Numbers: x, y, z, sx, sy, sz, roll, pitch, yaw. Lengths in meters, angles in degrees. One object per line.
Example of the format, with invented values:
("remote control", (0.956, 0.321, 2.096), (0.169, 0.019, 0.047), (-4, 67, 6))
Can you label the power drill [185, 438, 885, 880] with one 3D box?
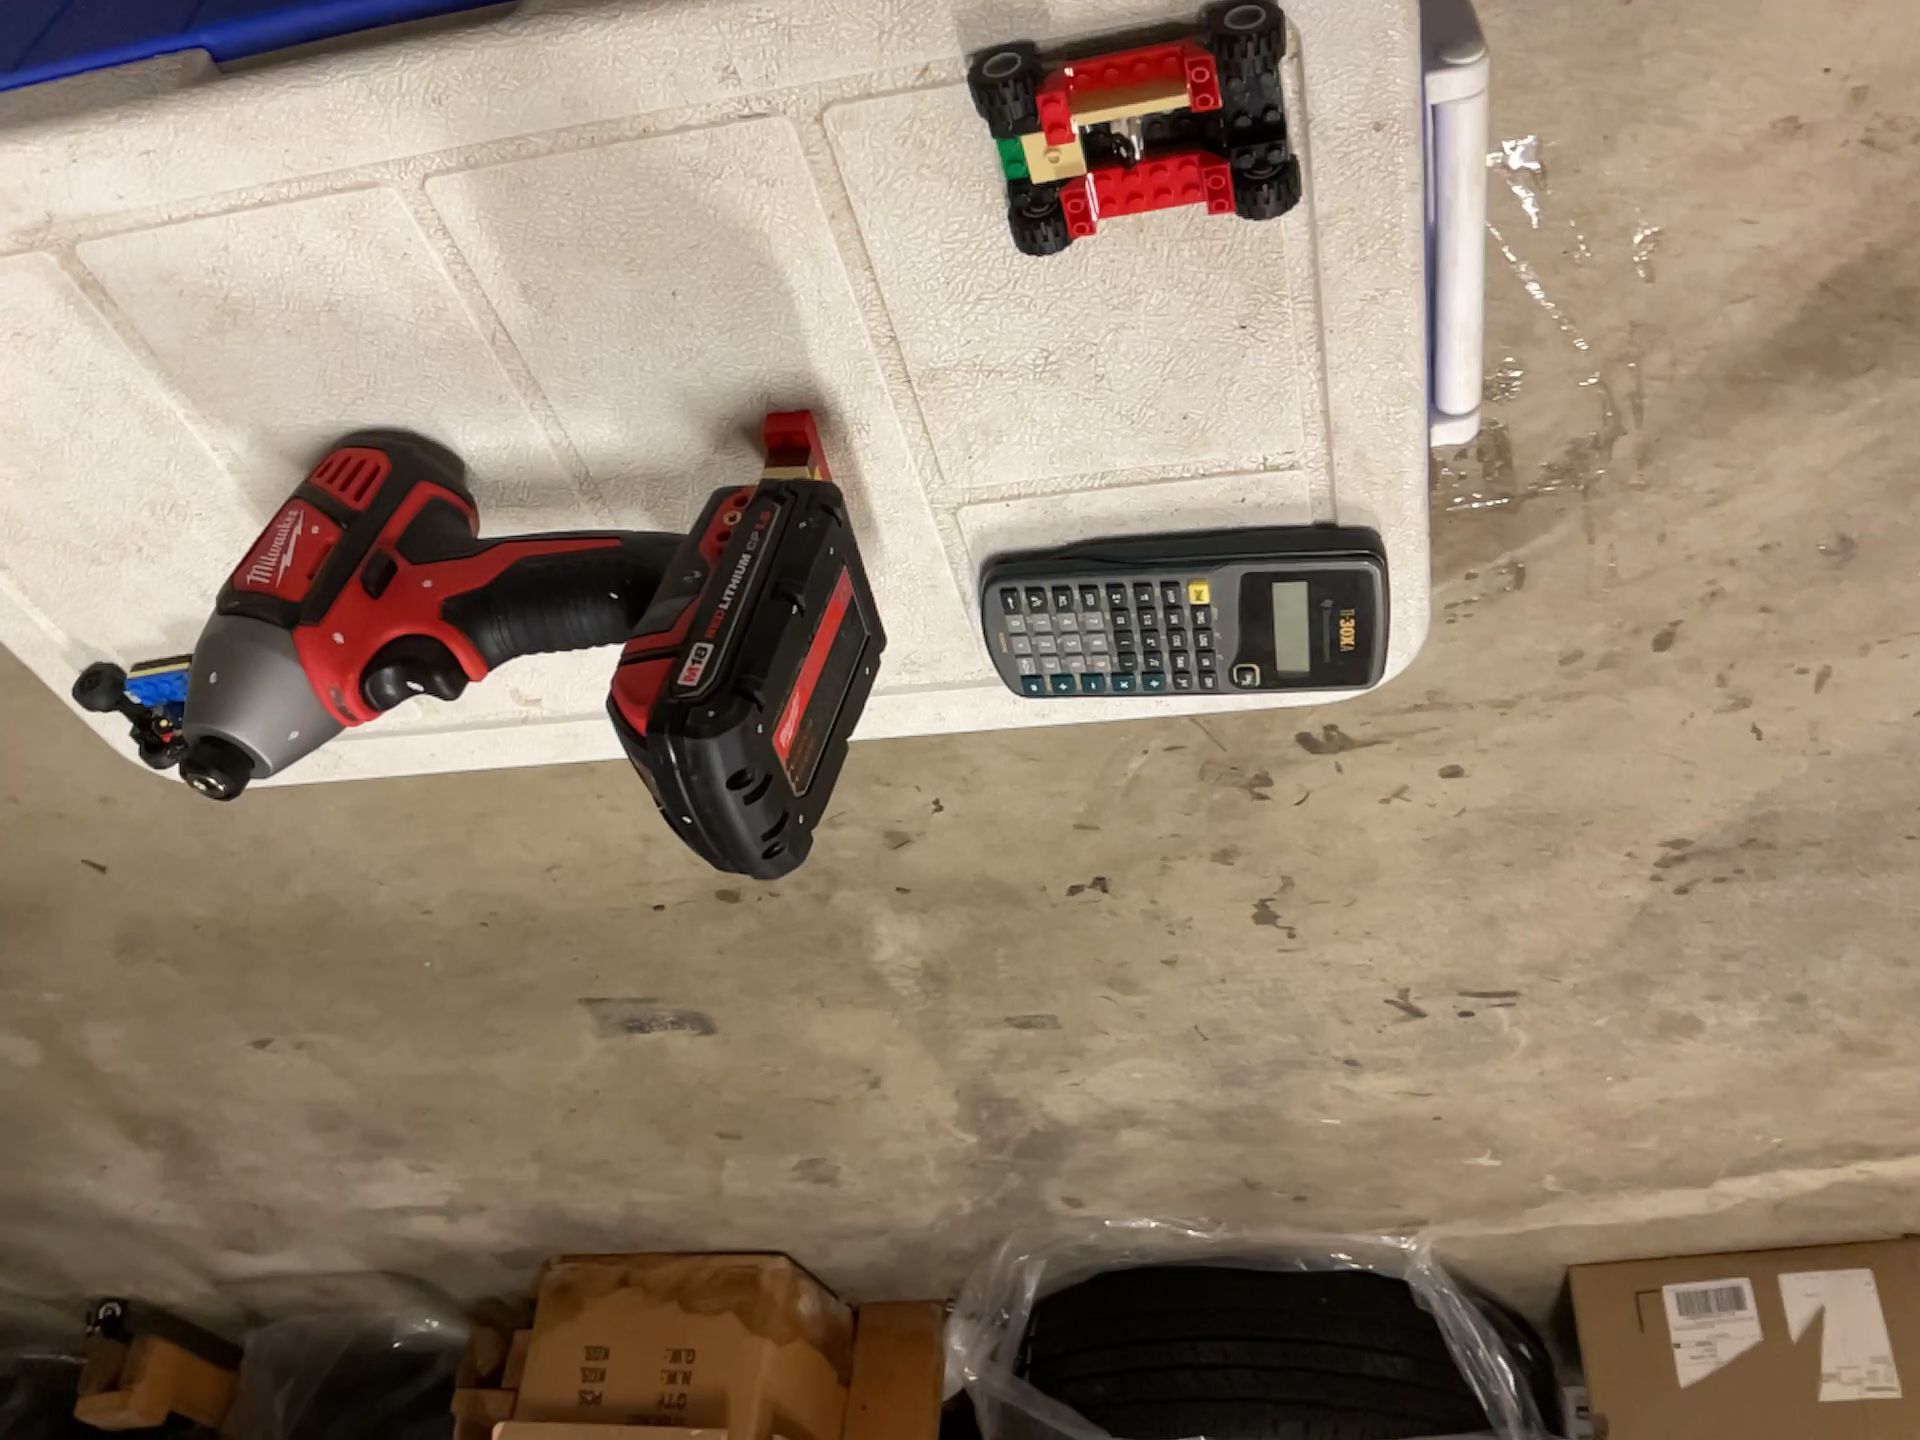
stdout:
("power drill", (-0.149, -0.022, 0.536), (0.219, 0.143, 0.078), (9, 145, 18))
